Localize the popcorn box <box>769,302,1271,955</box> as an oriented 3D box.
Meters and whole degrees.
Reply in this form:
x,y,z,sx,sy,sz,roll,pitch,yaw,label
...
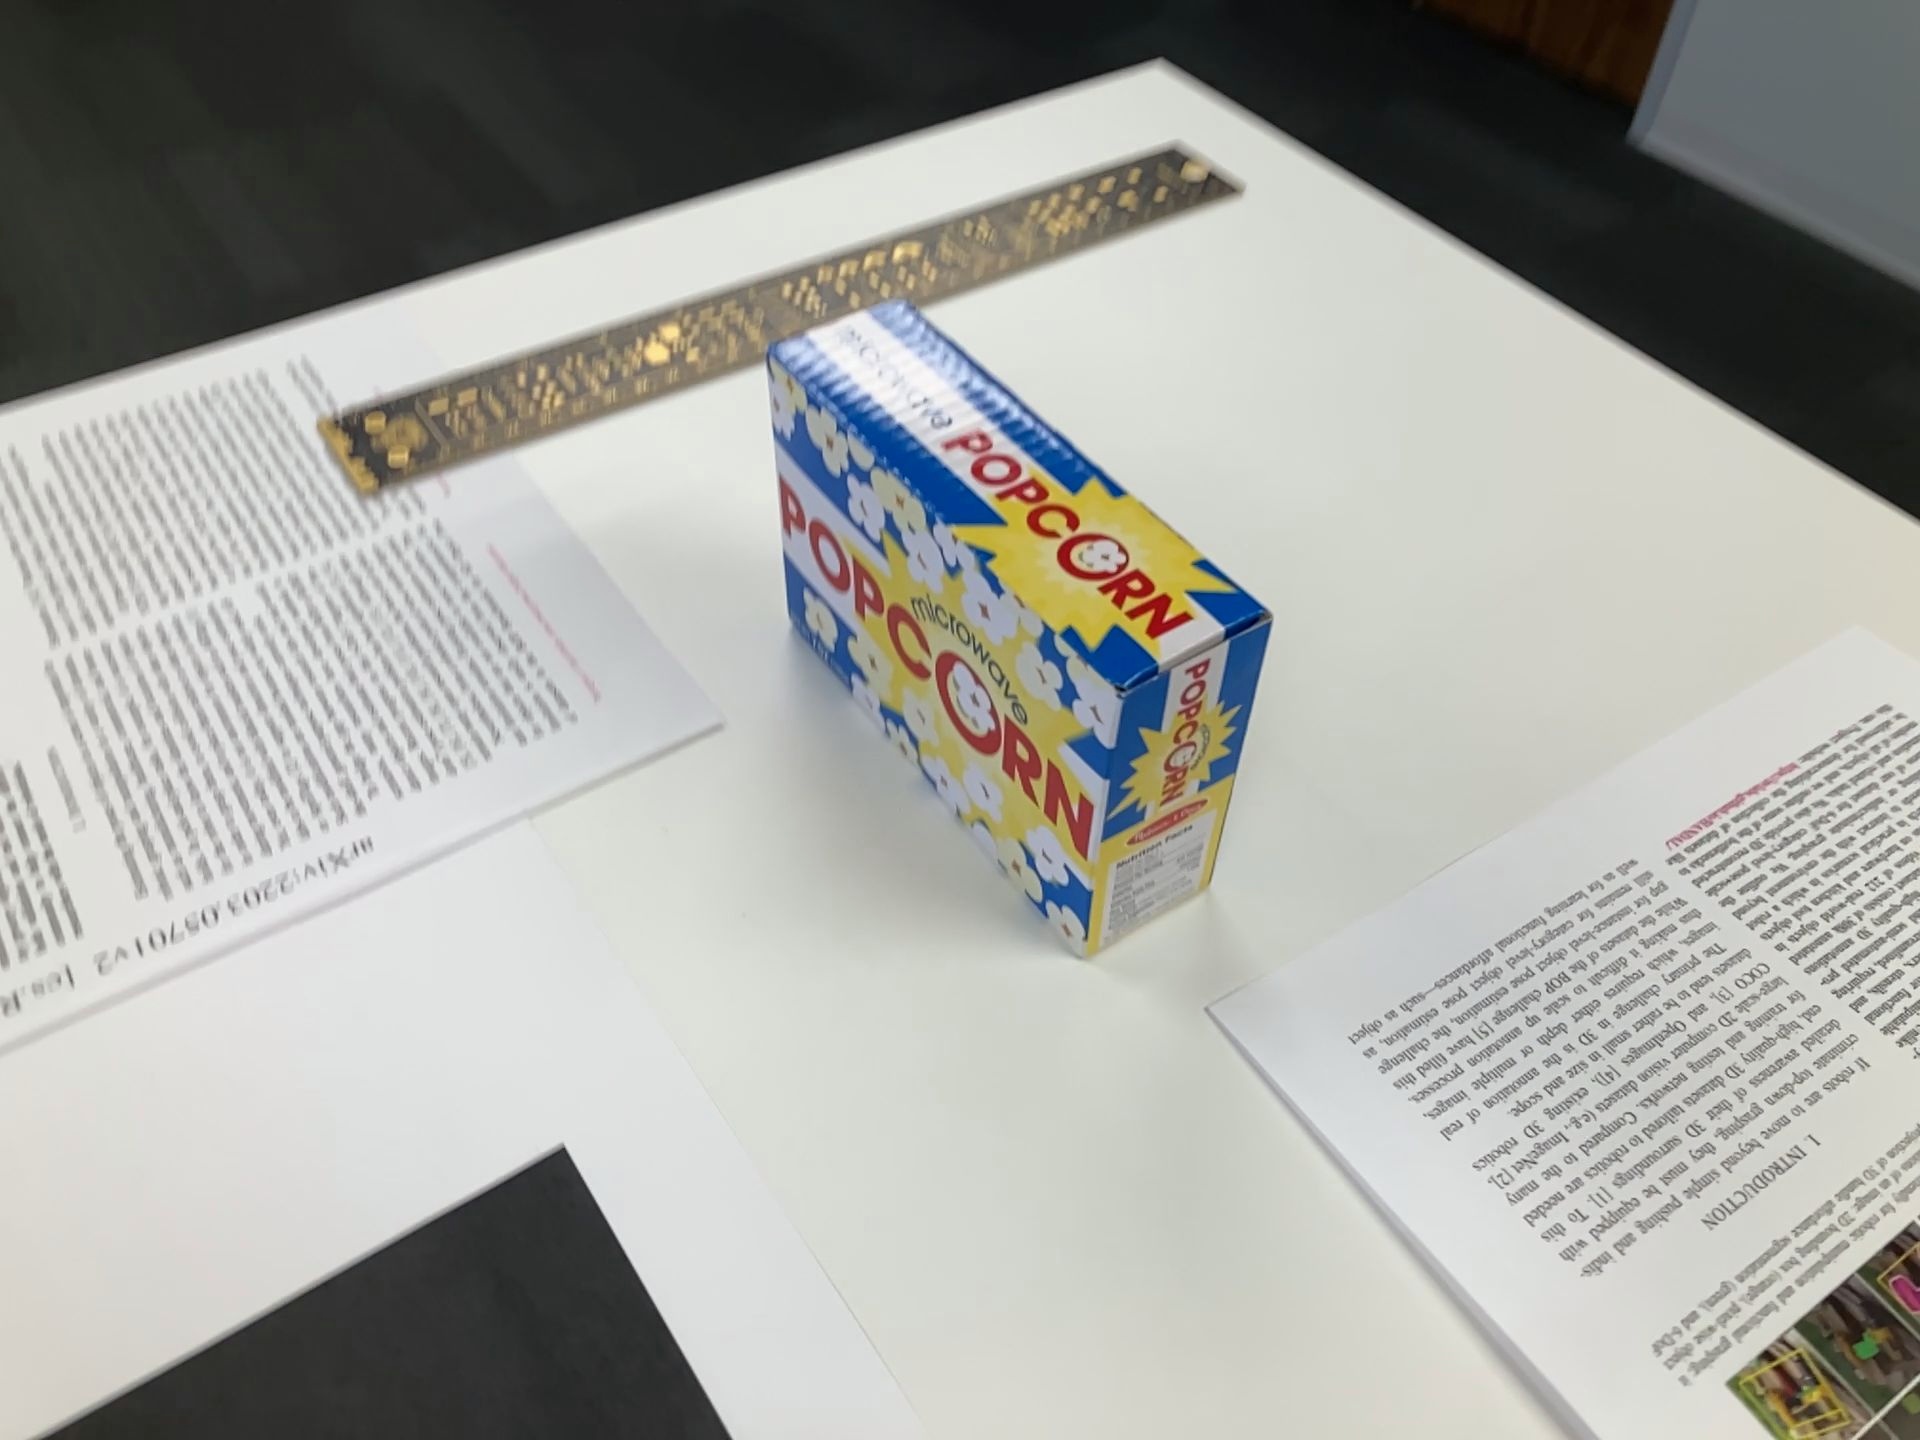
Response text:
x,y,z,sx,sy,sz,roll,pitch,yaw,label
0.006,-0.023,0.348,0.038,0.085,0.126,-26,53,-24,popcorn box
